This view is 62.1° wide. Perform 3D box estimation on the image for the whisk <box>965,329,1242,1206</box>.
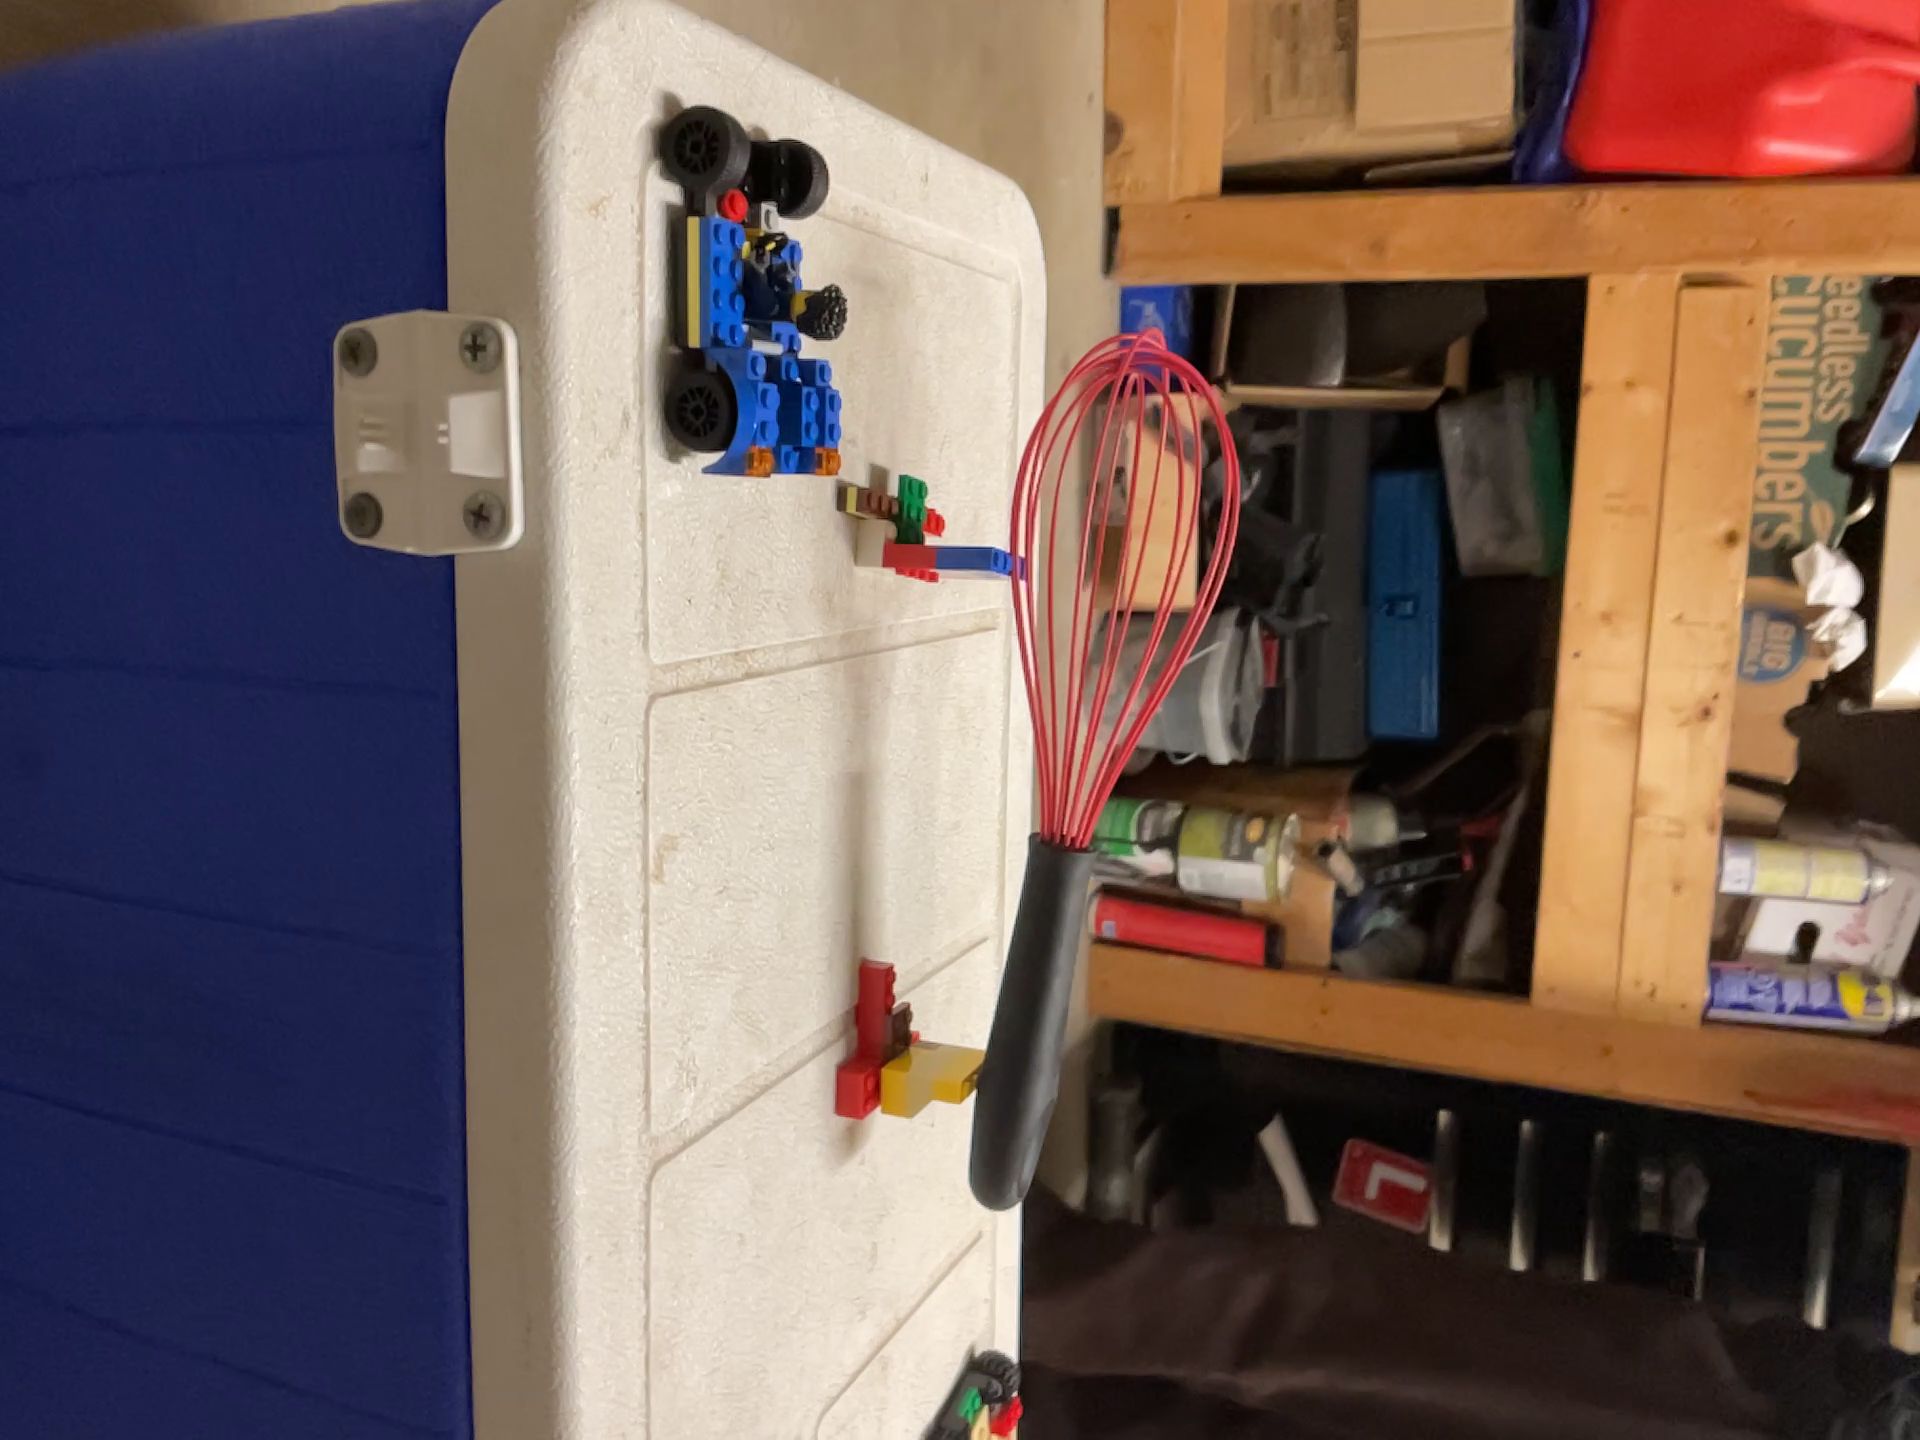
[{"bbox_3d":[0.037,0.021,0.523,0.073,0.073,0.295,-17,118,-70],"label":"whisk"}]
